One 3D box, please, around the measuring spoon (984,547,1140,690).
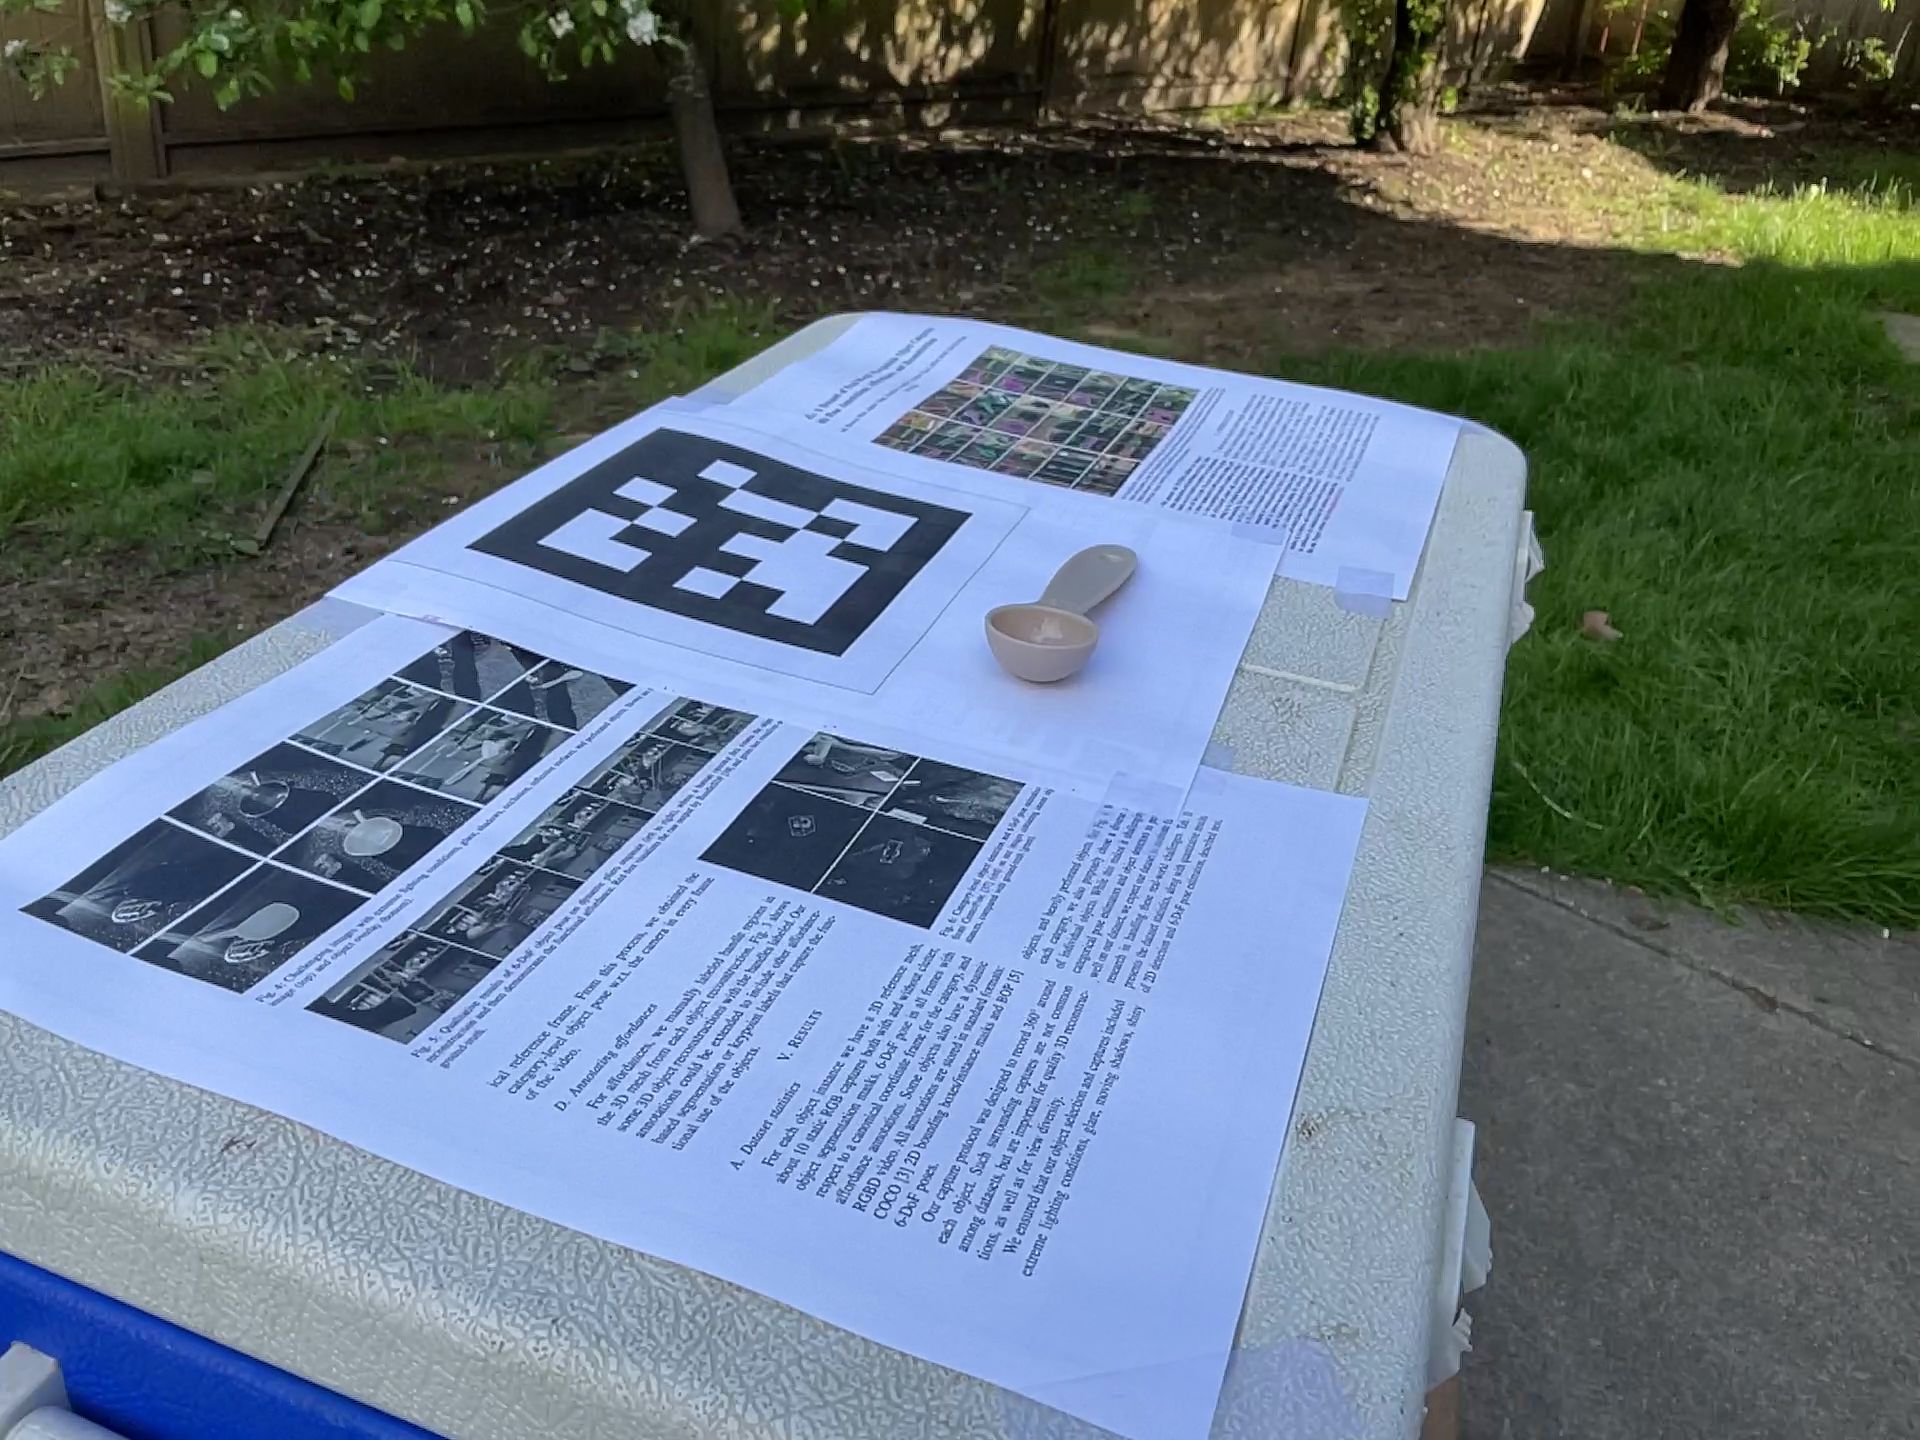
[{"bbox_3d":[0.037,-0.033,0.503,0.034,0.018,0.124,13,23,14],"label":"measuring spoon"}]
